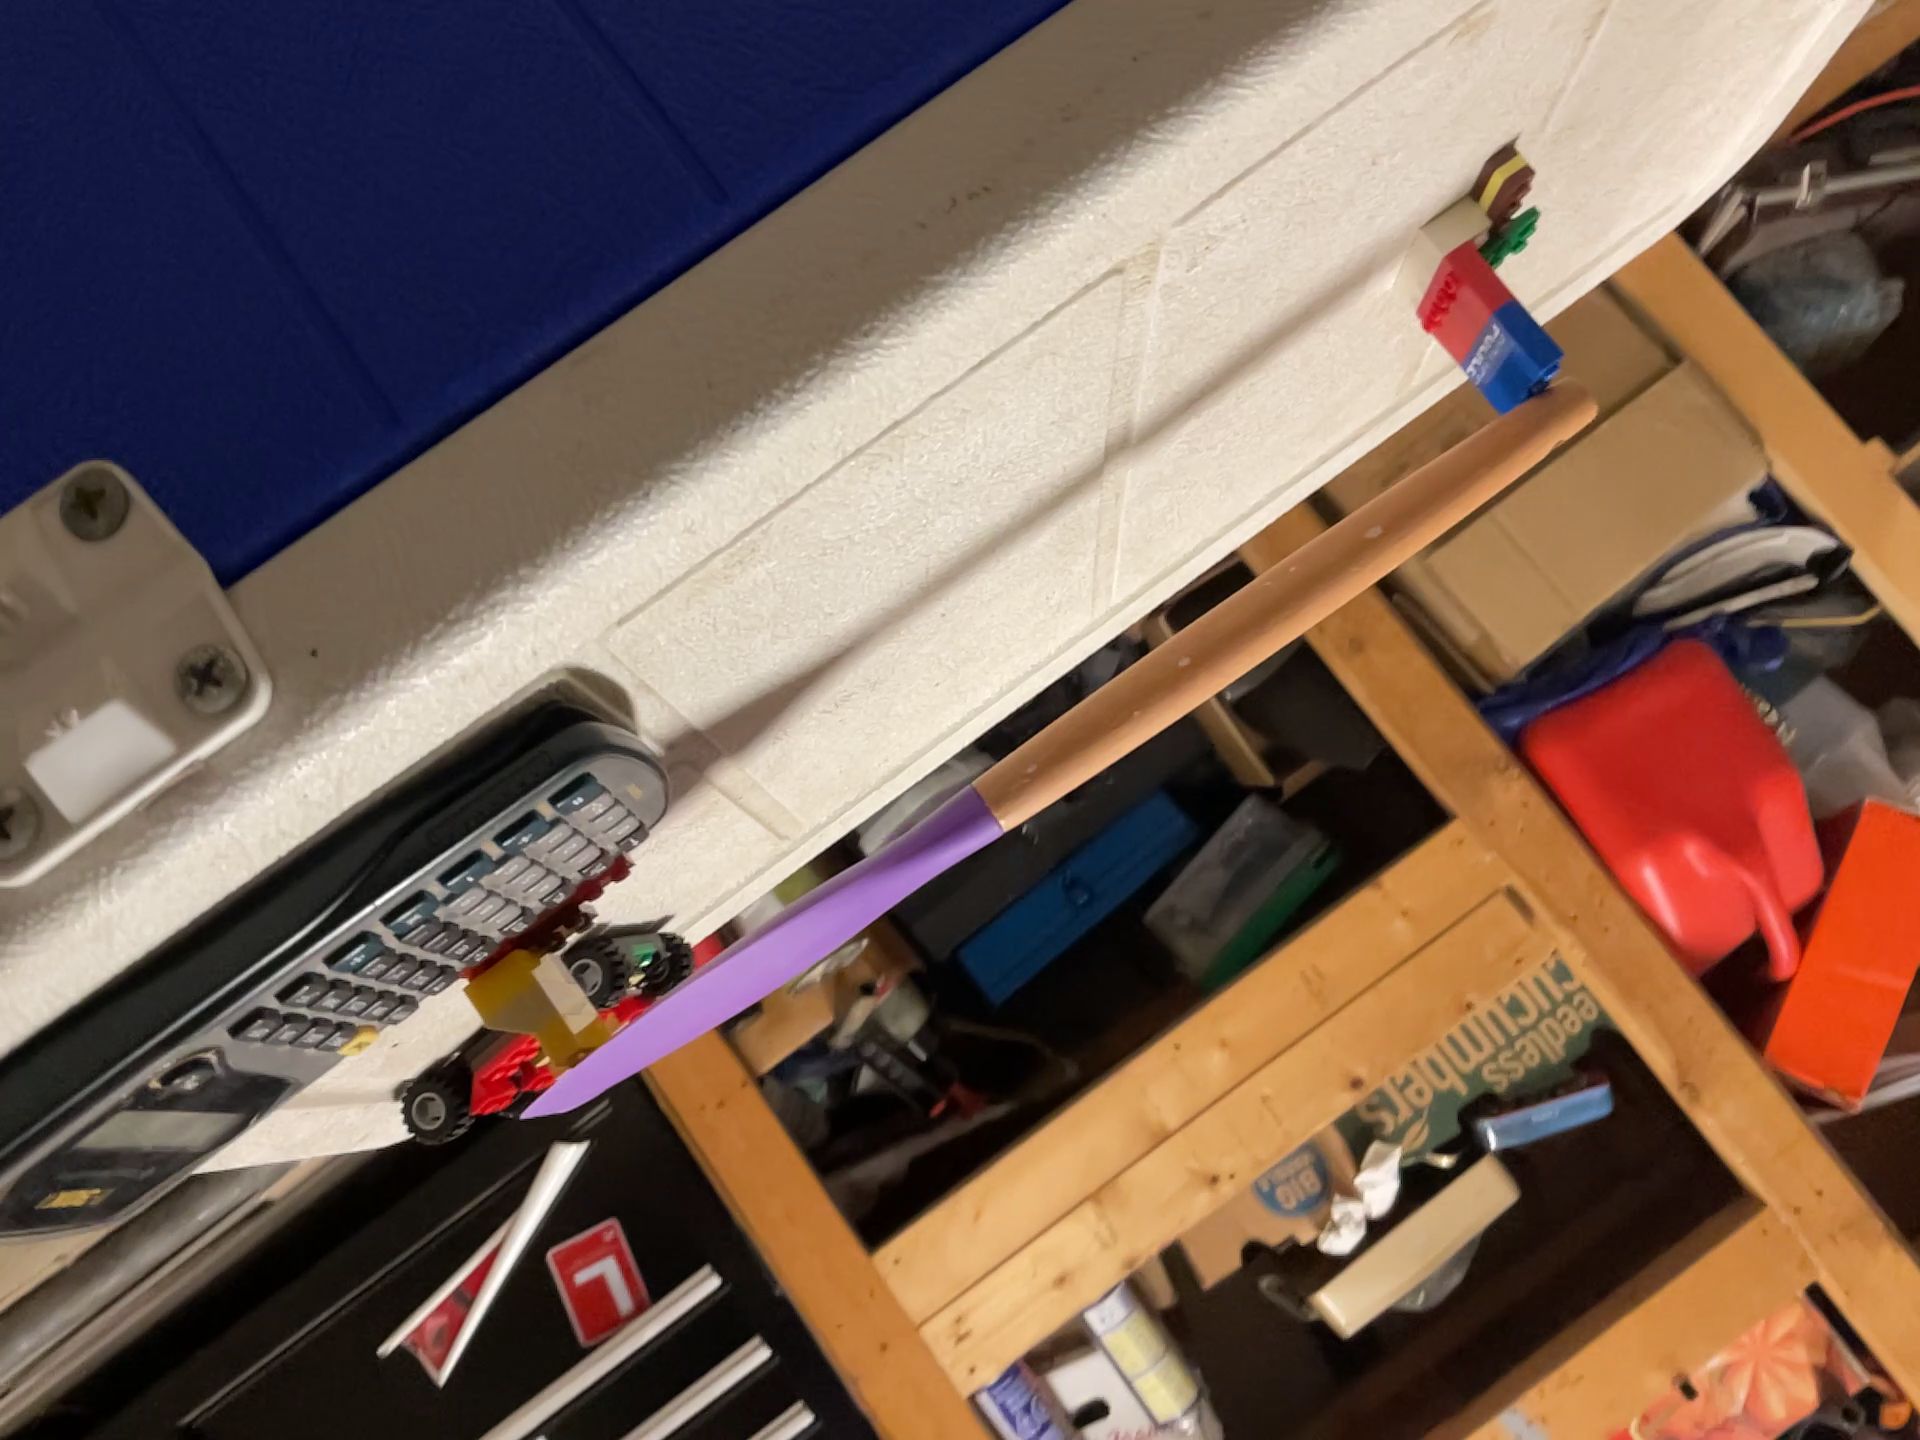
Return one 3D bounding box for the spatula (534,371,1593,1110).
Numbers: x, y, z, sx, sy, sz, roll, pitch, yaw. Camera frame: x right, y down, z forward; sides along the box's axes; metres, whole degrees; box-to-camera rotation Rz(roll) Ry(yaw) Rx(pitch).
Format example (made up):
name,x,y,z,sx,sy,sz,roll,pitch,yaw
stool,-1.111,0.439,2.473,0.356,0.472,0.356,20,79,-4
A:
name,x,y,z,sx,sy,sz,roll,pitch,yaw
spatula,0.029,0.005,0.398,0.316,0.018,0.059,-35,169,-4
